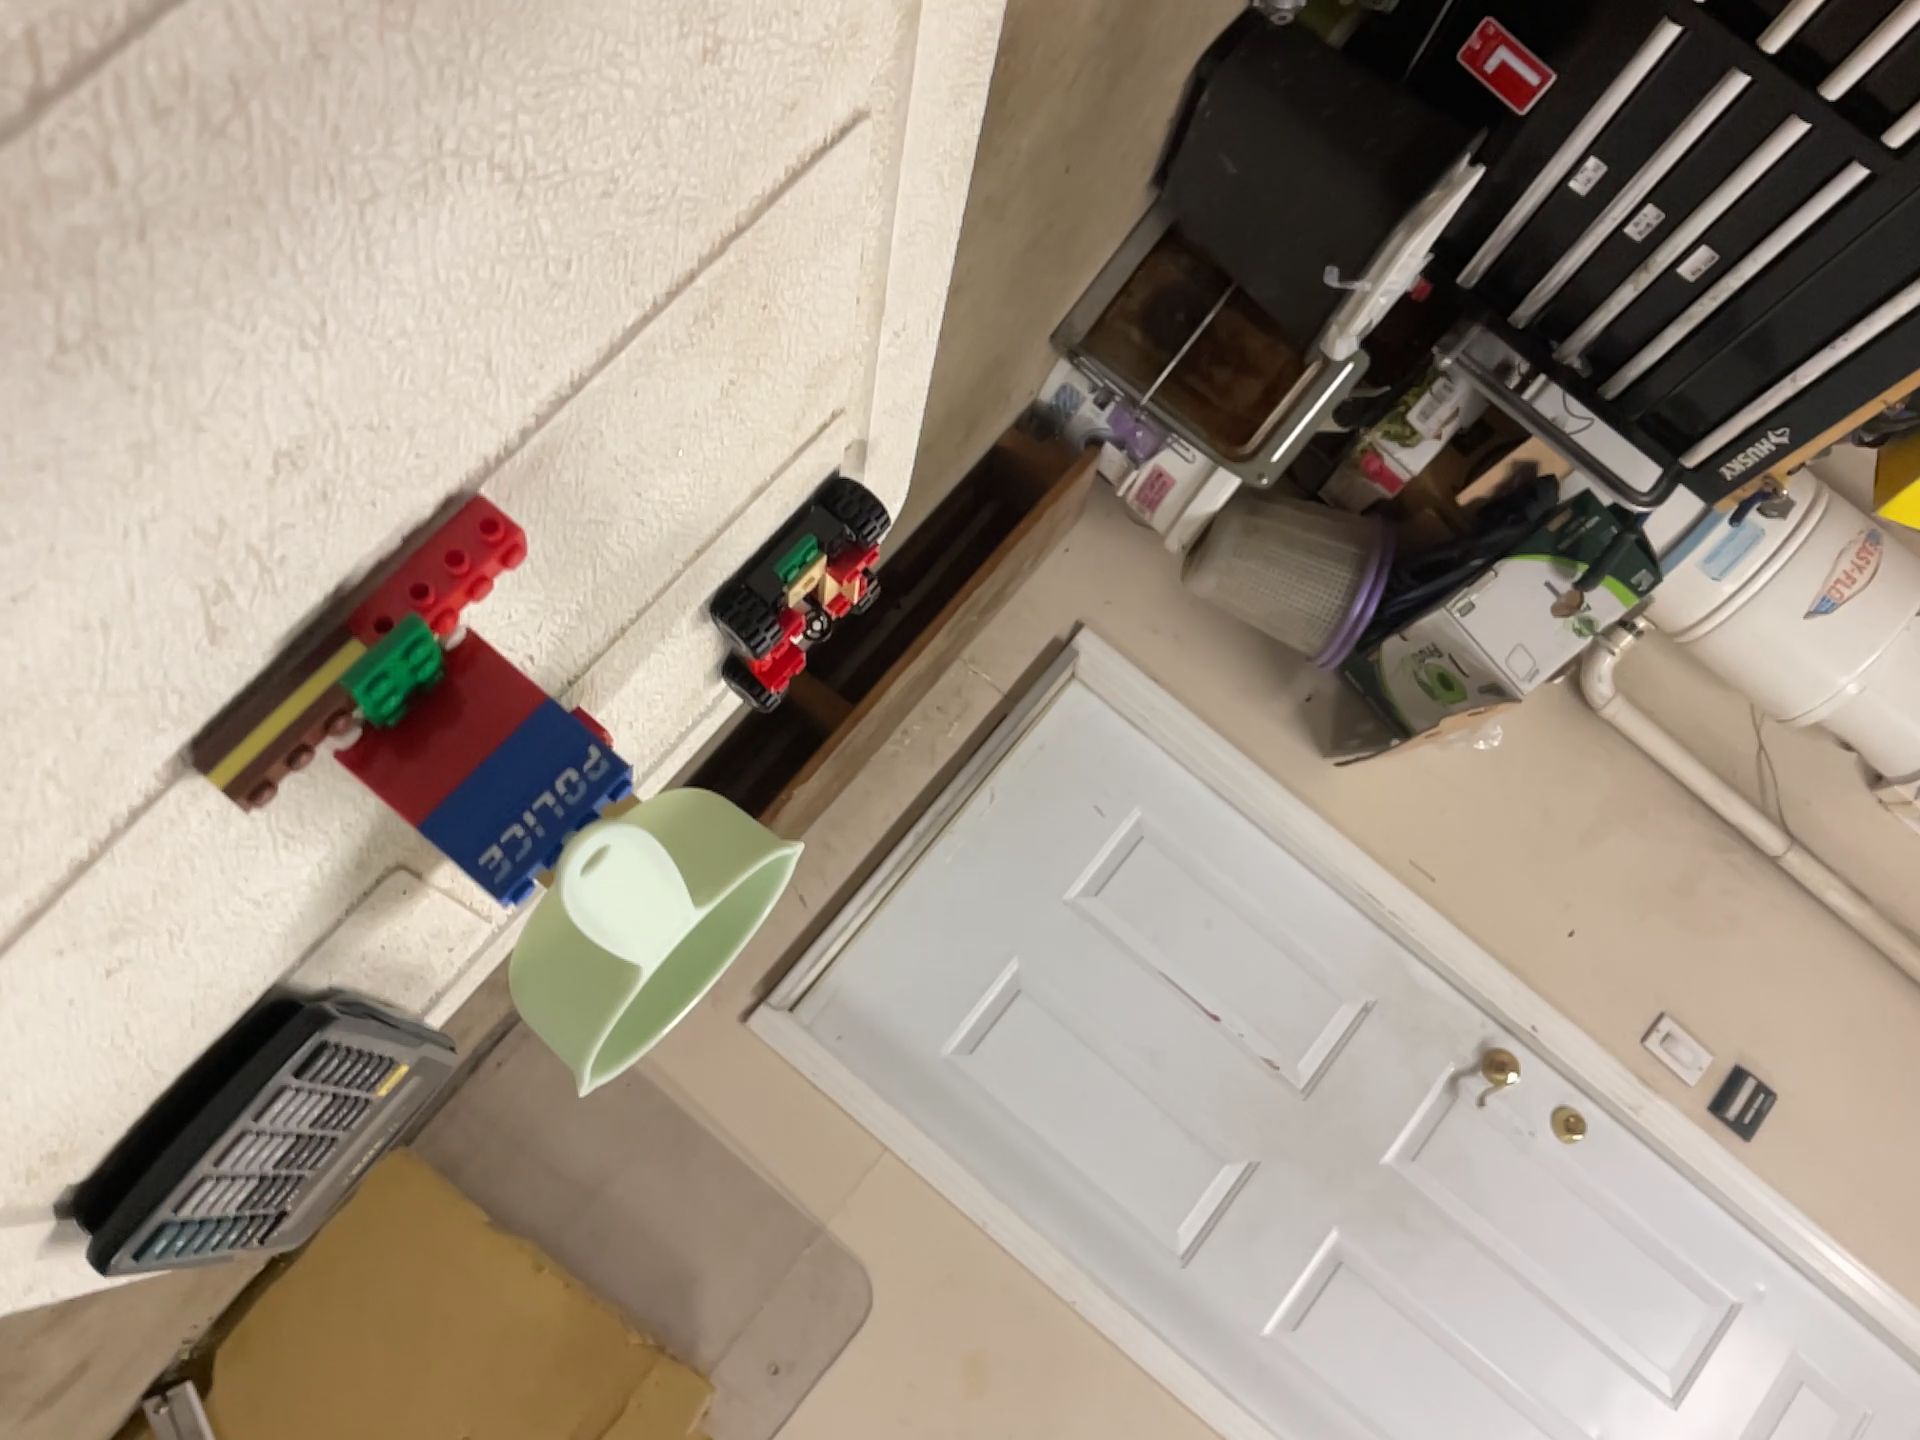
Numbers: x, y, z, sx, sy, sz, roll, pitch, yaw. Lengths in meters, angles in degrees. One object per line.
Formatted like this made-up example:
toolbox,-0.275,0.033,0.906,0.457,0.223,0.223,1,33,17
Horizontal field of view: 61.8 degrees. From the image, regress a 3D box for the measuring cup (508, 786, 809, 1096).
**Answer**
measuring cup,-0.079,0.038,0.361,0.083,0.038,0.167,-48,170,-12
